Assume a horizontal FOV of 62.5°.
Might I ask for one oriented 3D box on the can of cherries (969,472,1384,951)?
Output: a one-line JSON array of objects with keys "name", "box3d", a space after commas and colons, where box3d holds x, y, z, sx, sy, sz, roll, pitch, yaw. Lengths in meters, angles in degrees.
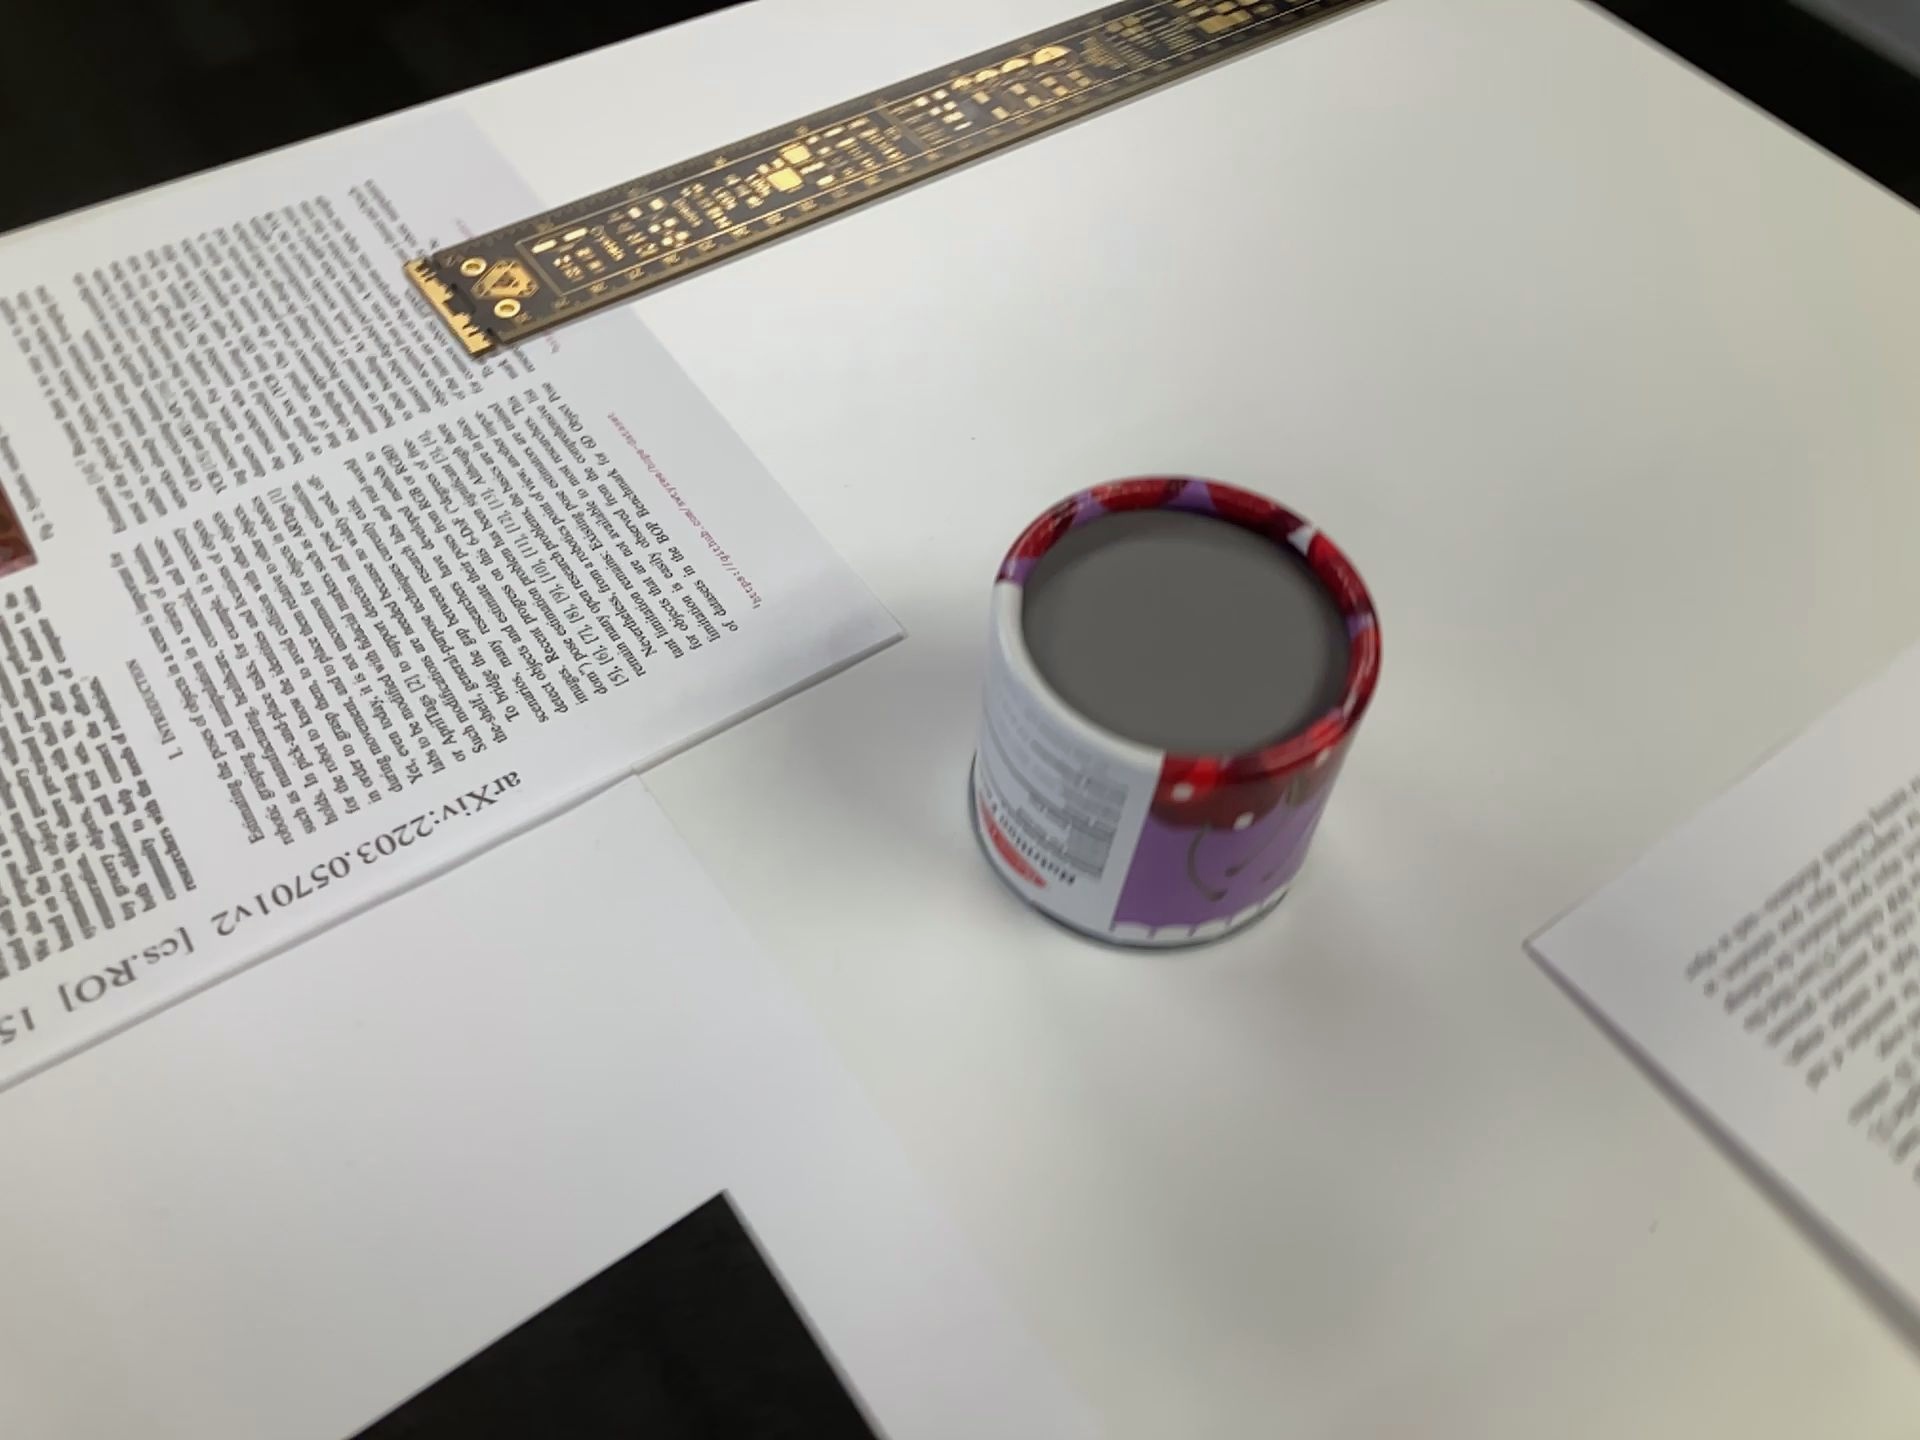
[{"name": "can of cherries", "box3d": [0.038, -0.003, 0.285, 0.071, 0.058, 0.071, 2, 53, -2]}]
